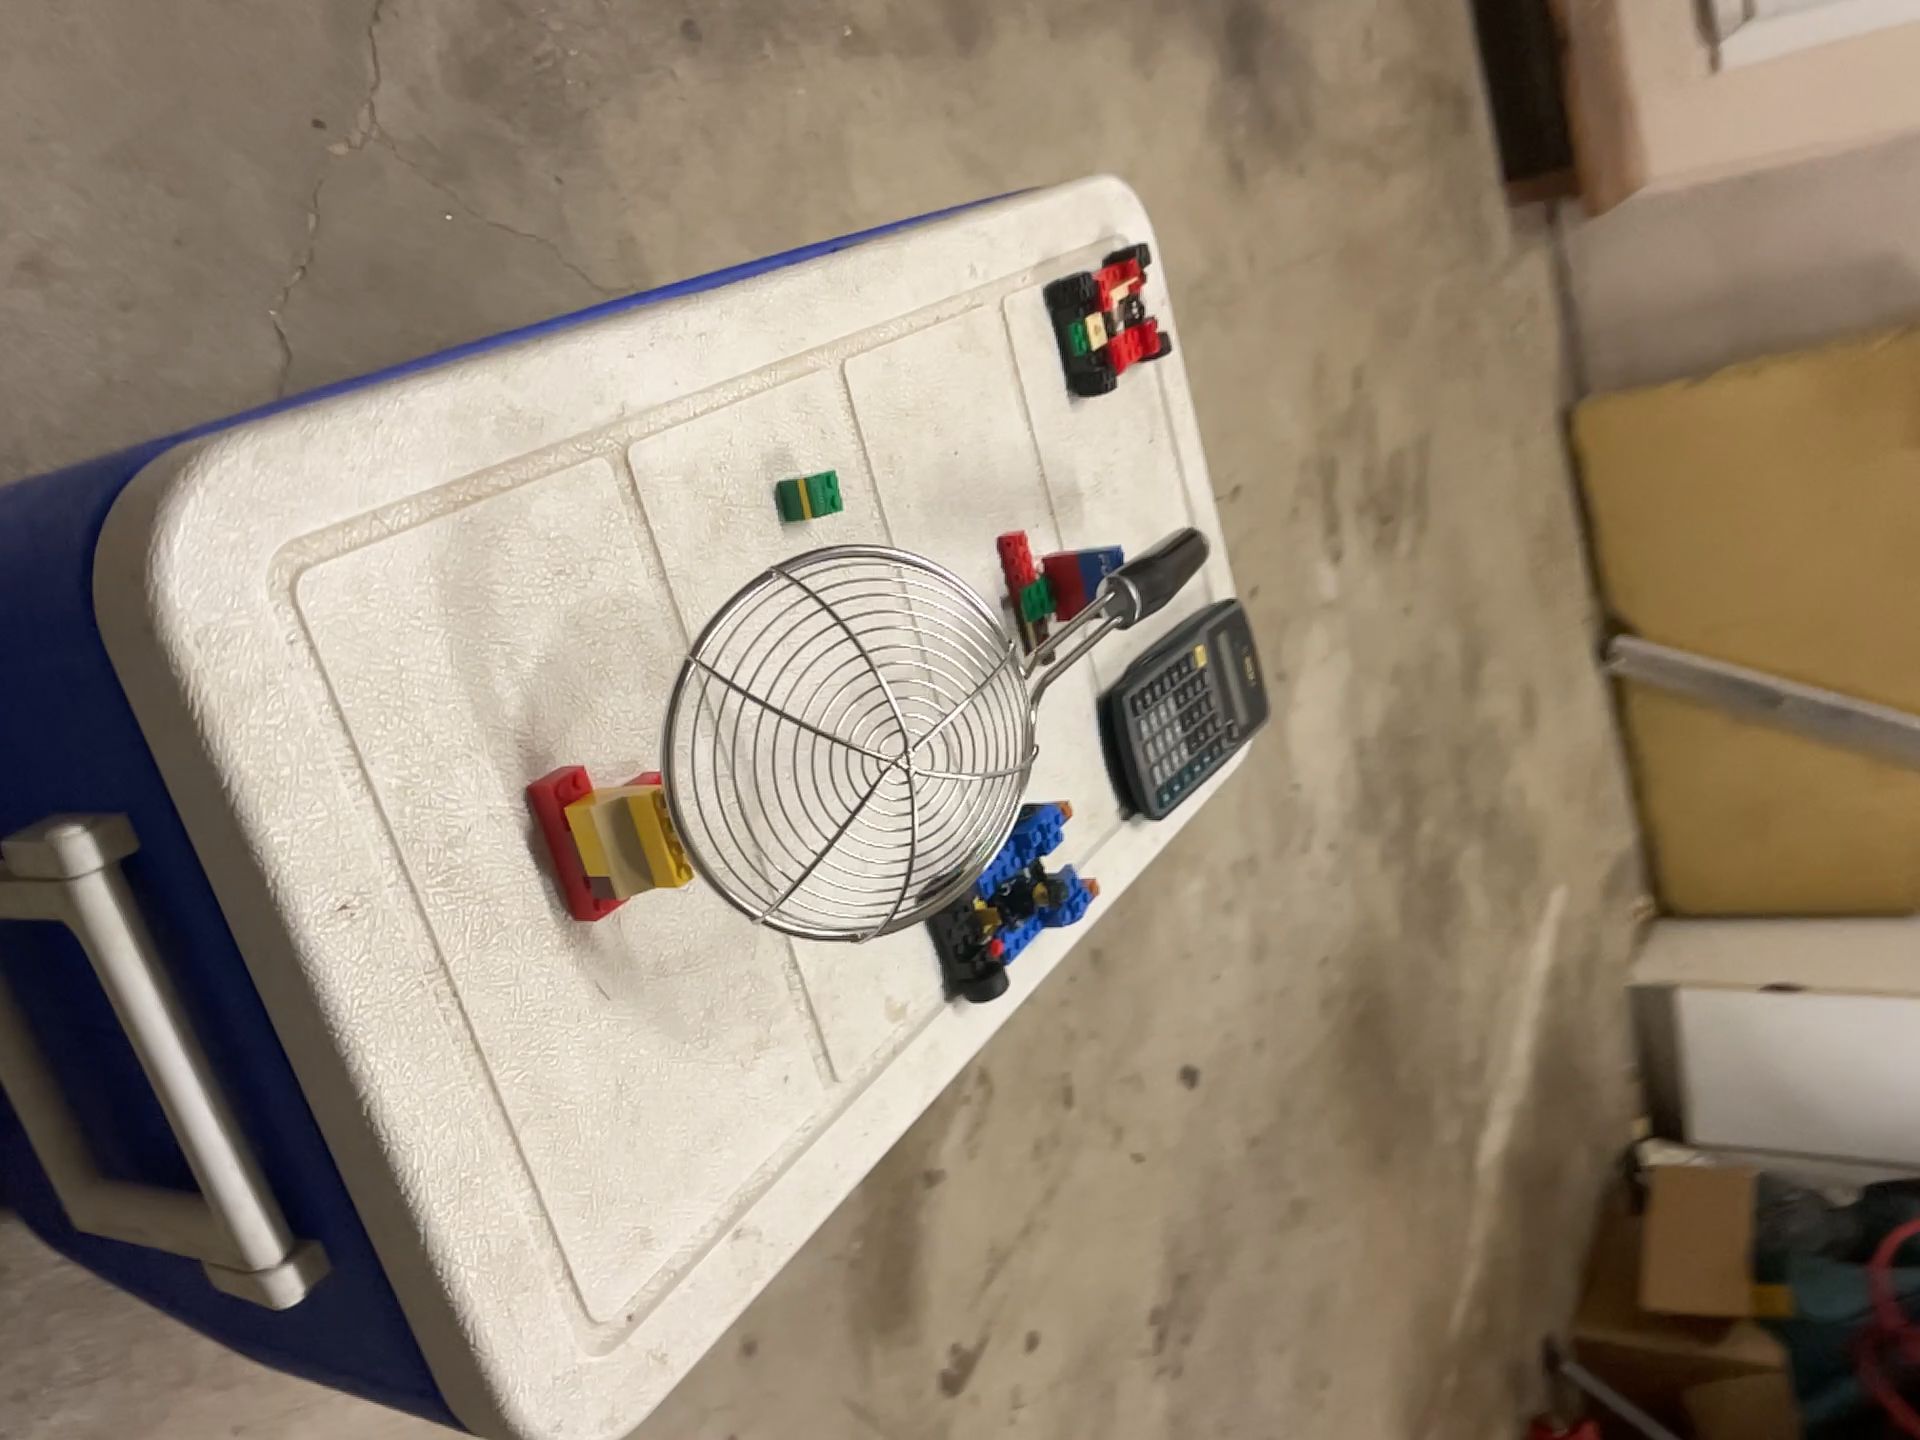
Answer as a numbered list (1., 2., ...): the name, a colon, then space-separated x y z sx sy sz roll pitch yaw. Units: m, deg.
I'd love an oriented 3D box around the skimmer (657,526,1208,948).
1. skimmer: 0.016 -0.029 0.621 0.364 0.090 0.127 -38 118 -63
